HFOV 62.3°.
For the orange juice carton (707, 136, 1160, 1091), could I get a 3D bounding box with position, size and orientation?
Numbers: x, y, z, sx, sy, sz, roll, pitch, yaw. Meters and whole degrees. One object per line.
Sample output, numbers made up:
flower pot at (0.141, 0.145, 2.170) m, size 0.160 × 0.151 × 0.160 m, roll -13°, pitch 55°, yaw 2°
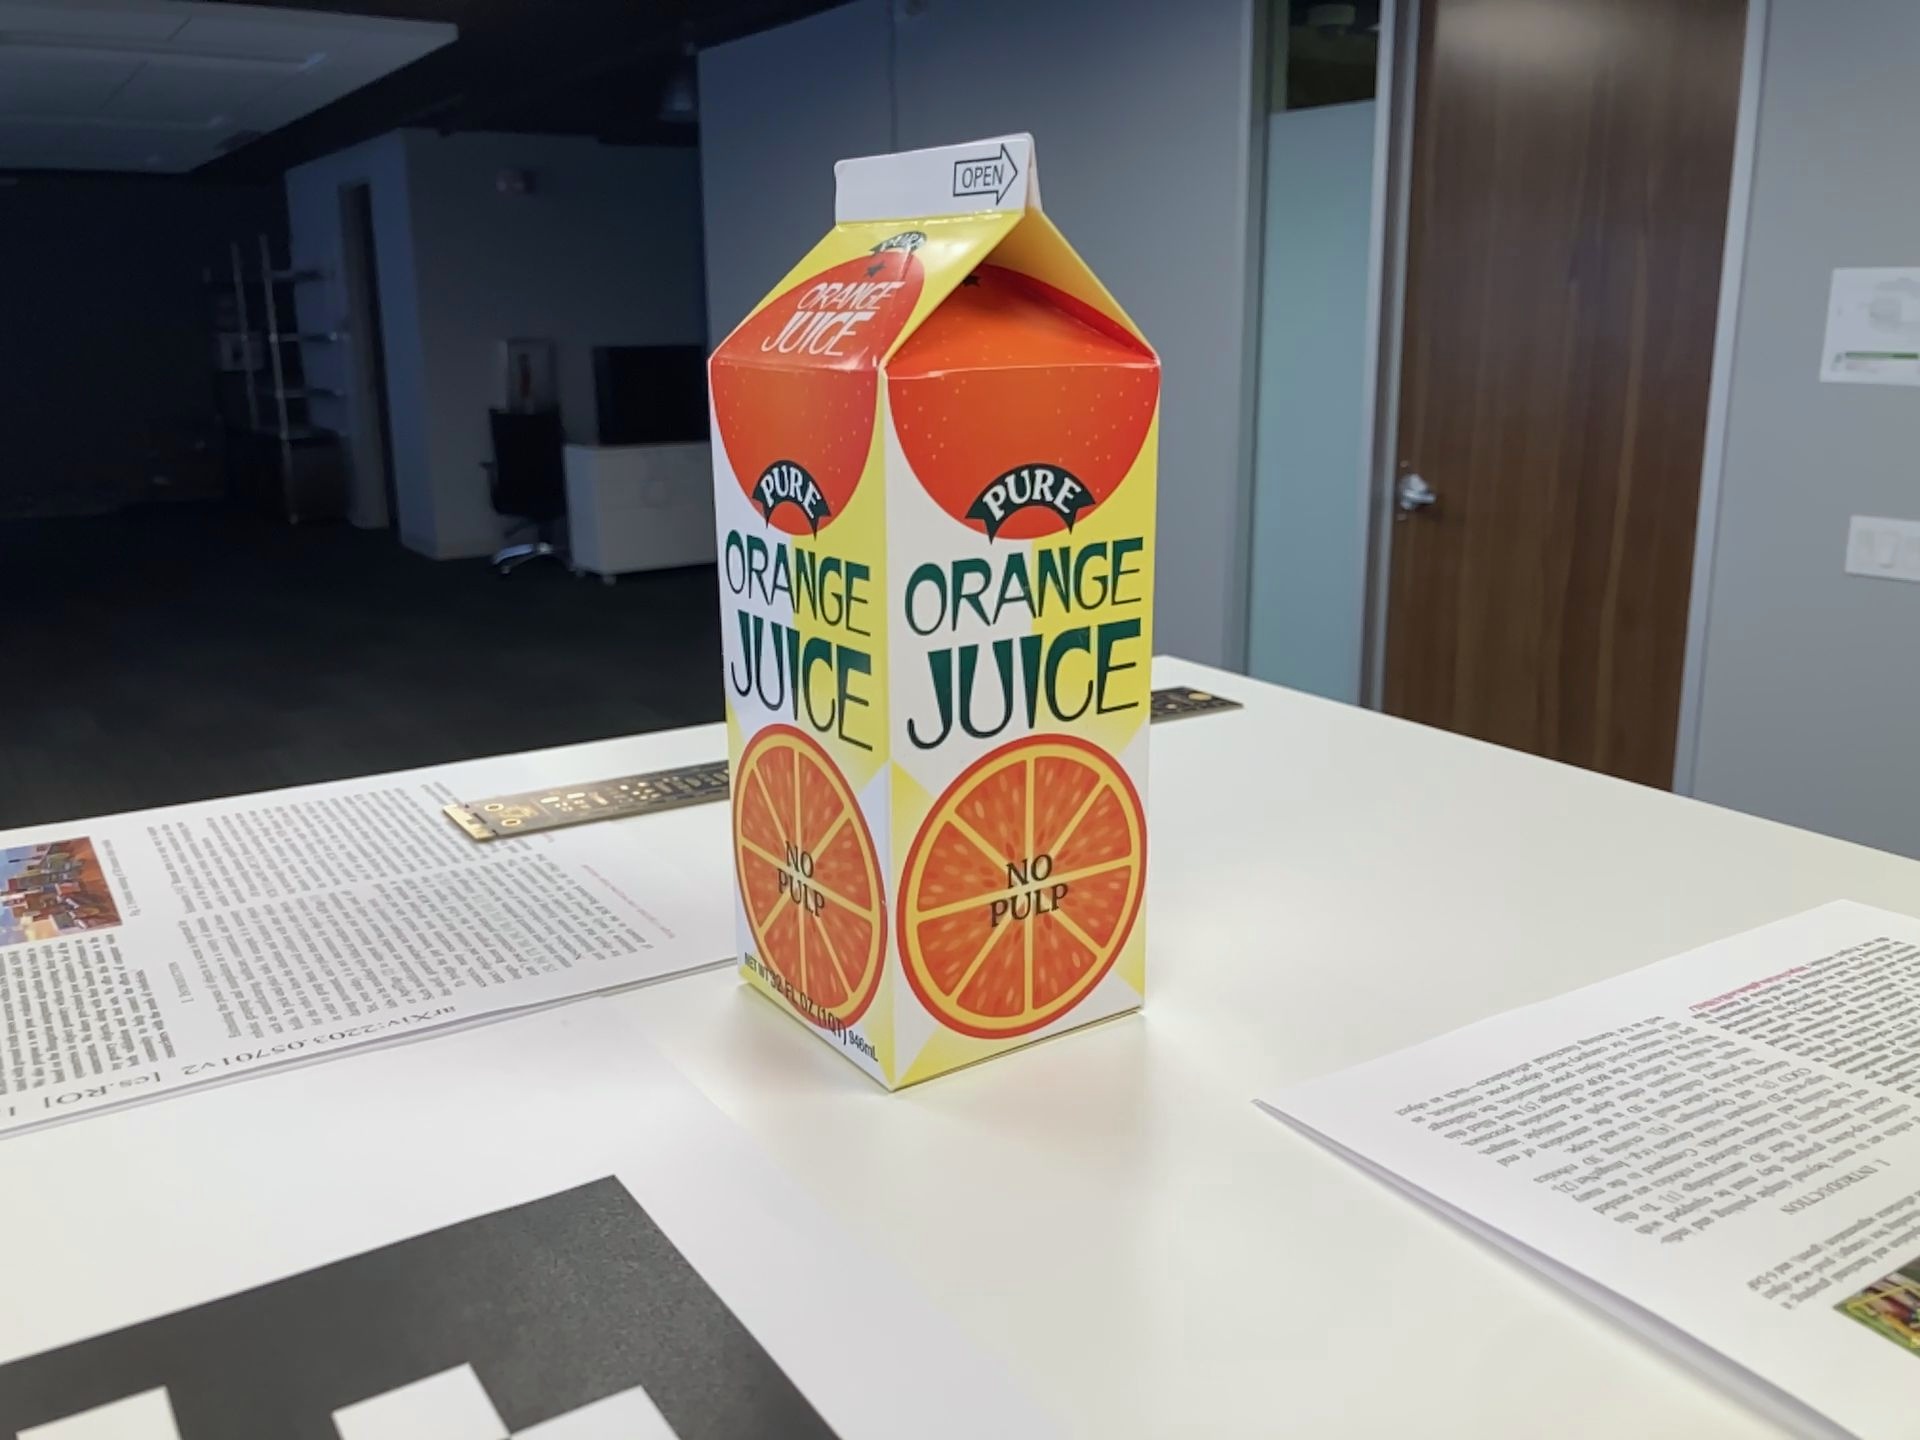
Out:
orange juice carton at (-0.006, -0.025, 0.354) m, size 0.073 × 0.192 × 0.072 m, roll -11°, pitch 18°, yaw -33°
